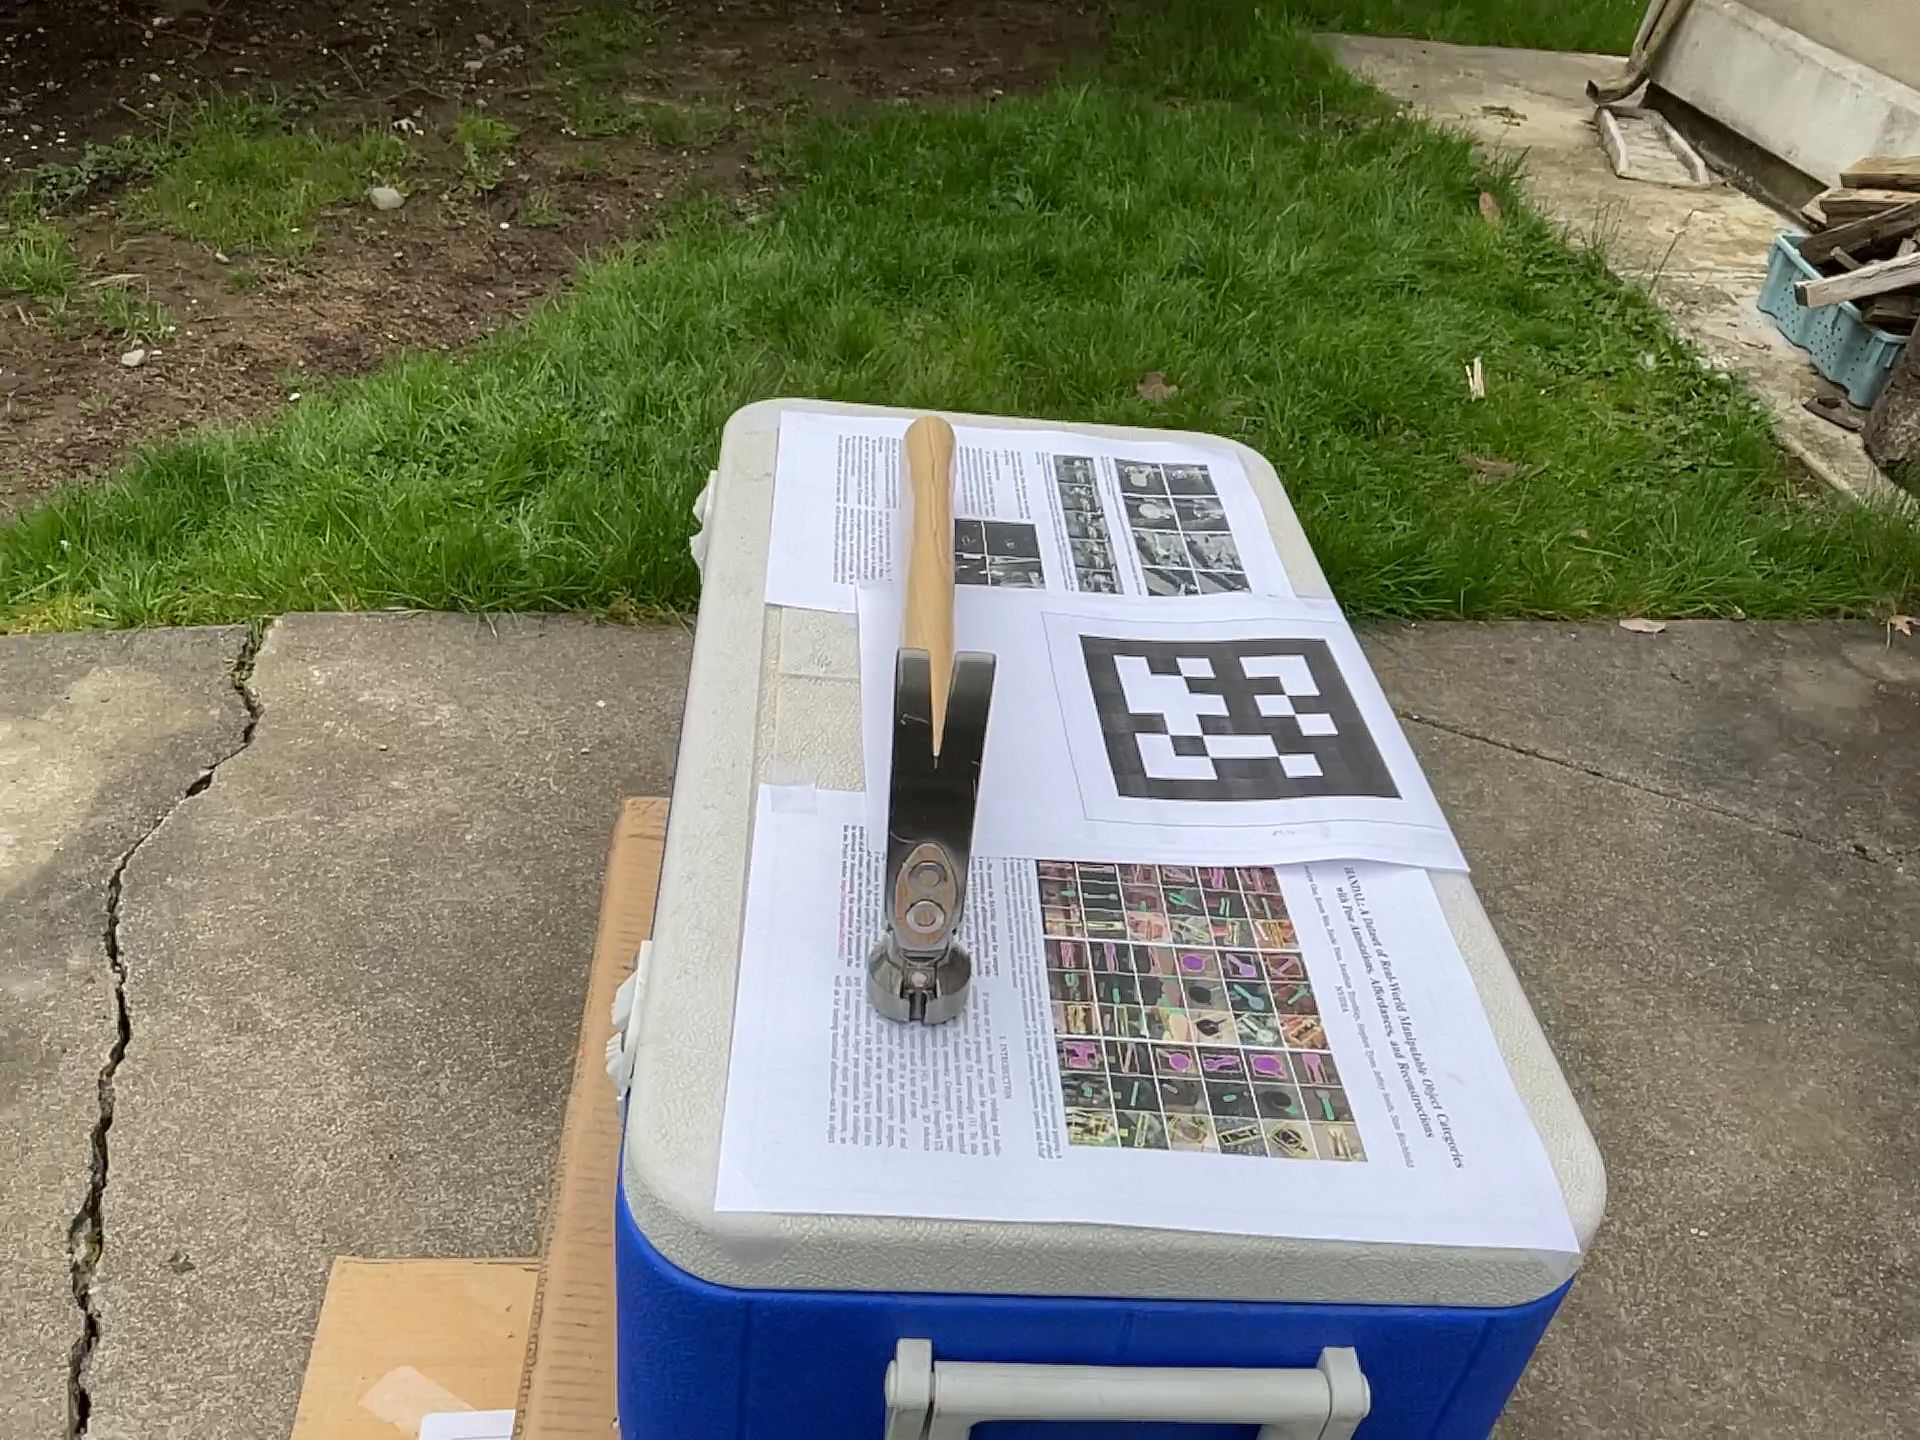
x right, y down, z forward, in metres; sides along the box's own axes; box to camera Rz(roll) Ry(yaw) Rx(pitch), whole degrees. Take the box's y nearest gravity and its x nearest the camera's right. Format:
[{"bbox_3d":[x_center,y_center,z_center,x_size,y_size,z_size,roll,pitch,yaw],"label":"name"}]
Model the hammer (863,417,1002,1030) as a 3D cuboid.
[{"bbox_3d":[-0.014,-0.056,0.703,0.038,0.146,0.411,4,31,-4],"label":"hammer"}]
